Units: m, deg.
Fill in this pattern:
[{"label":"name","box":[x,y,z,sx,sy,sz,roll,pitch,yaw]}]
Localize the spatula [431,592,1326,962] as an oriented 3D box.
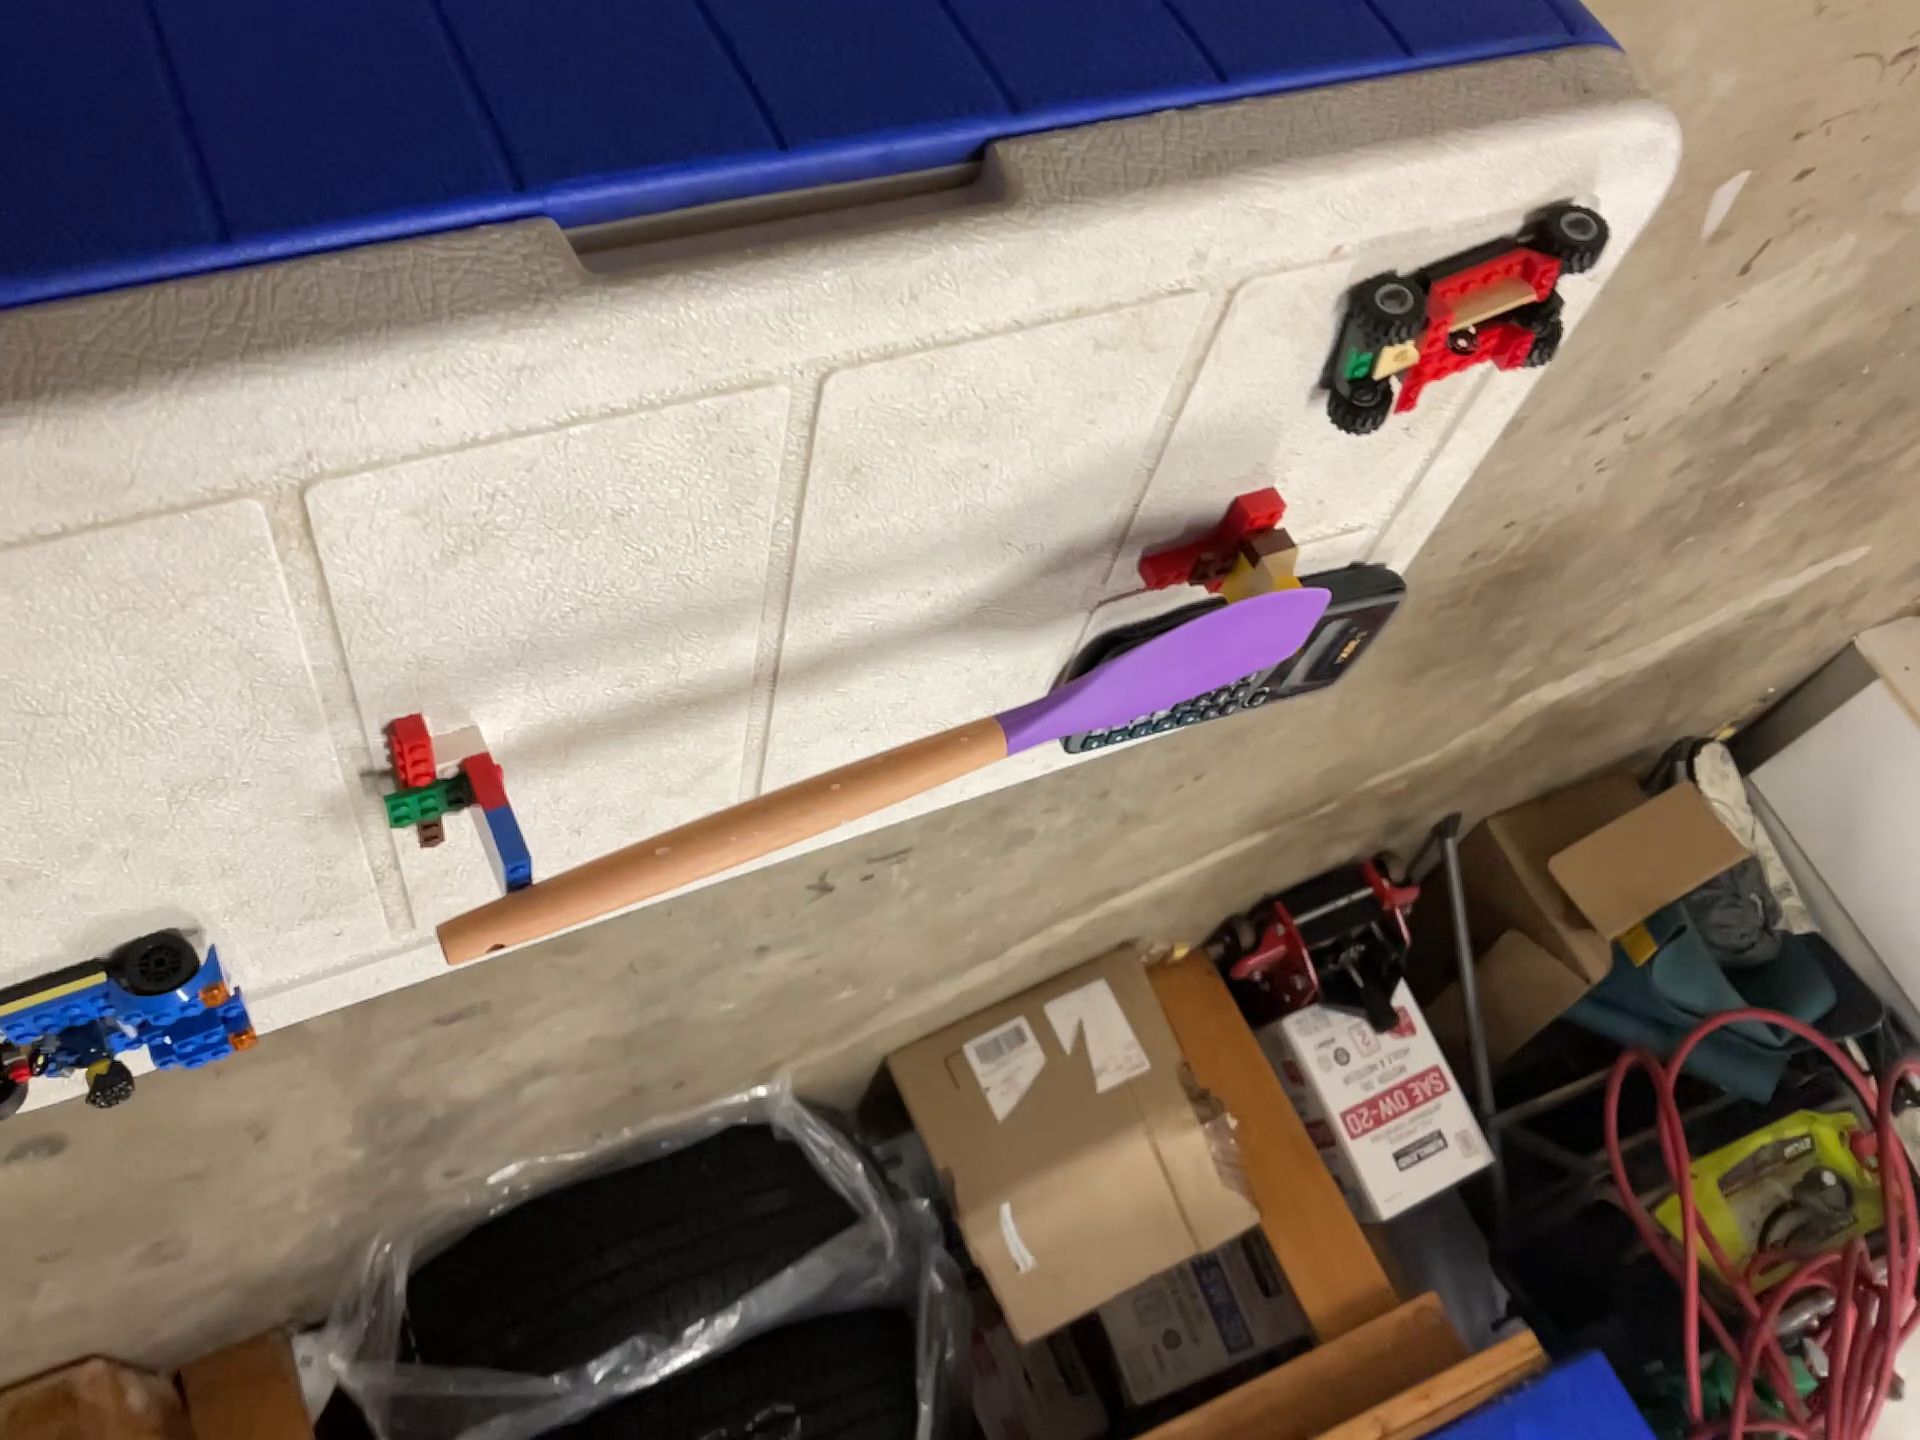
[{"label":"spatula","box":[-0.012,0.013,0.514,0.316,0.018,0.059,-20,156,-21]}]
